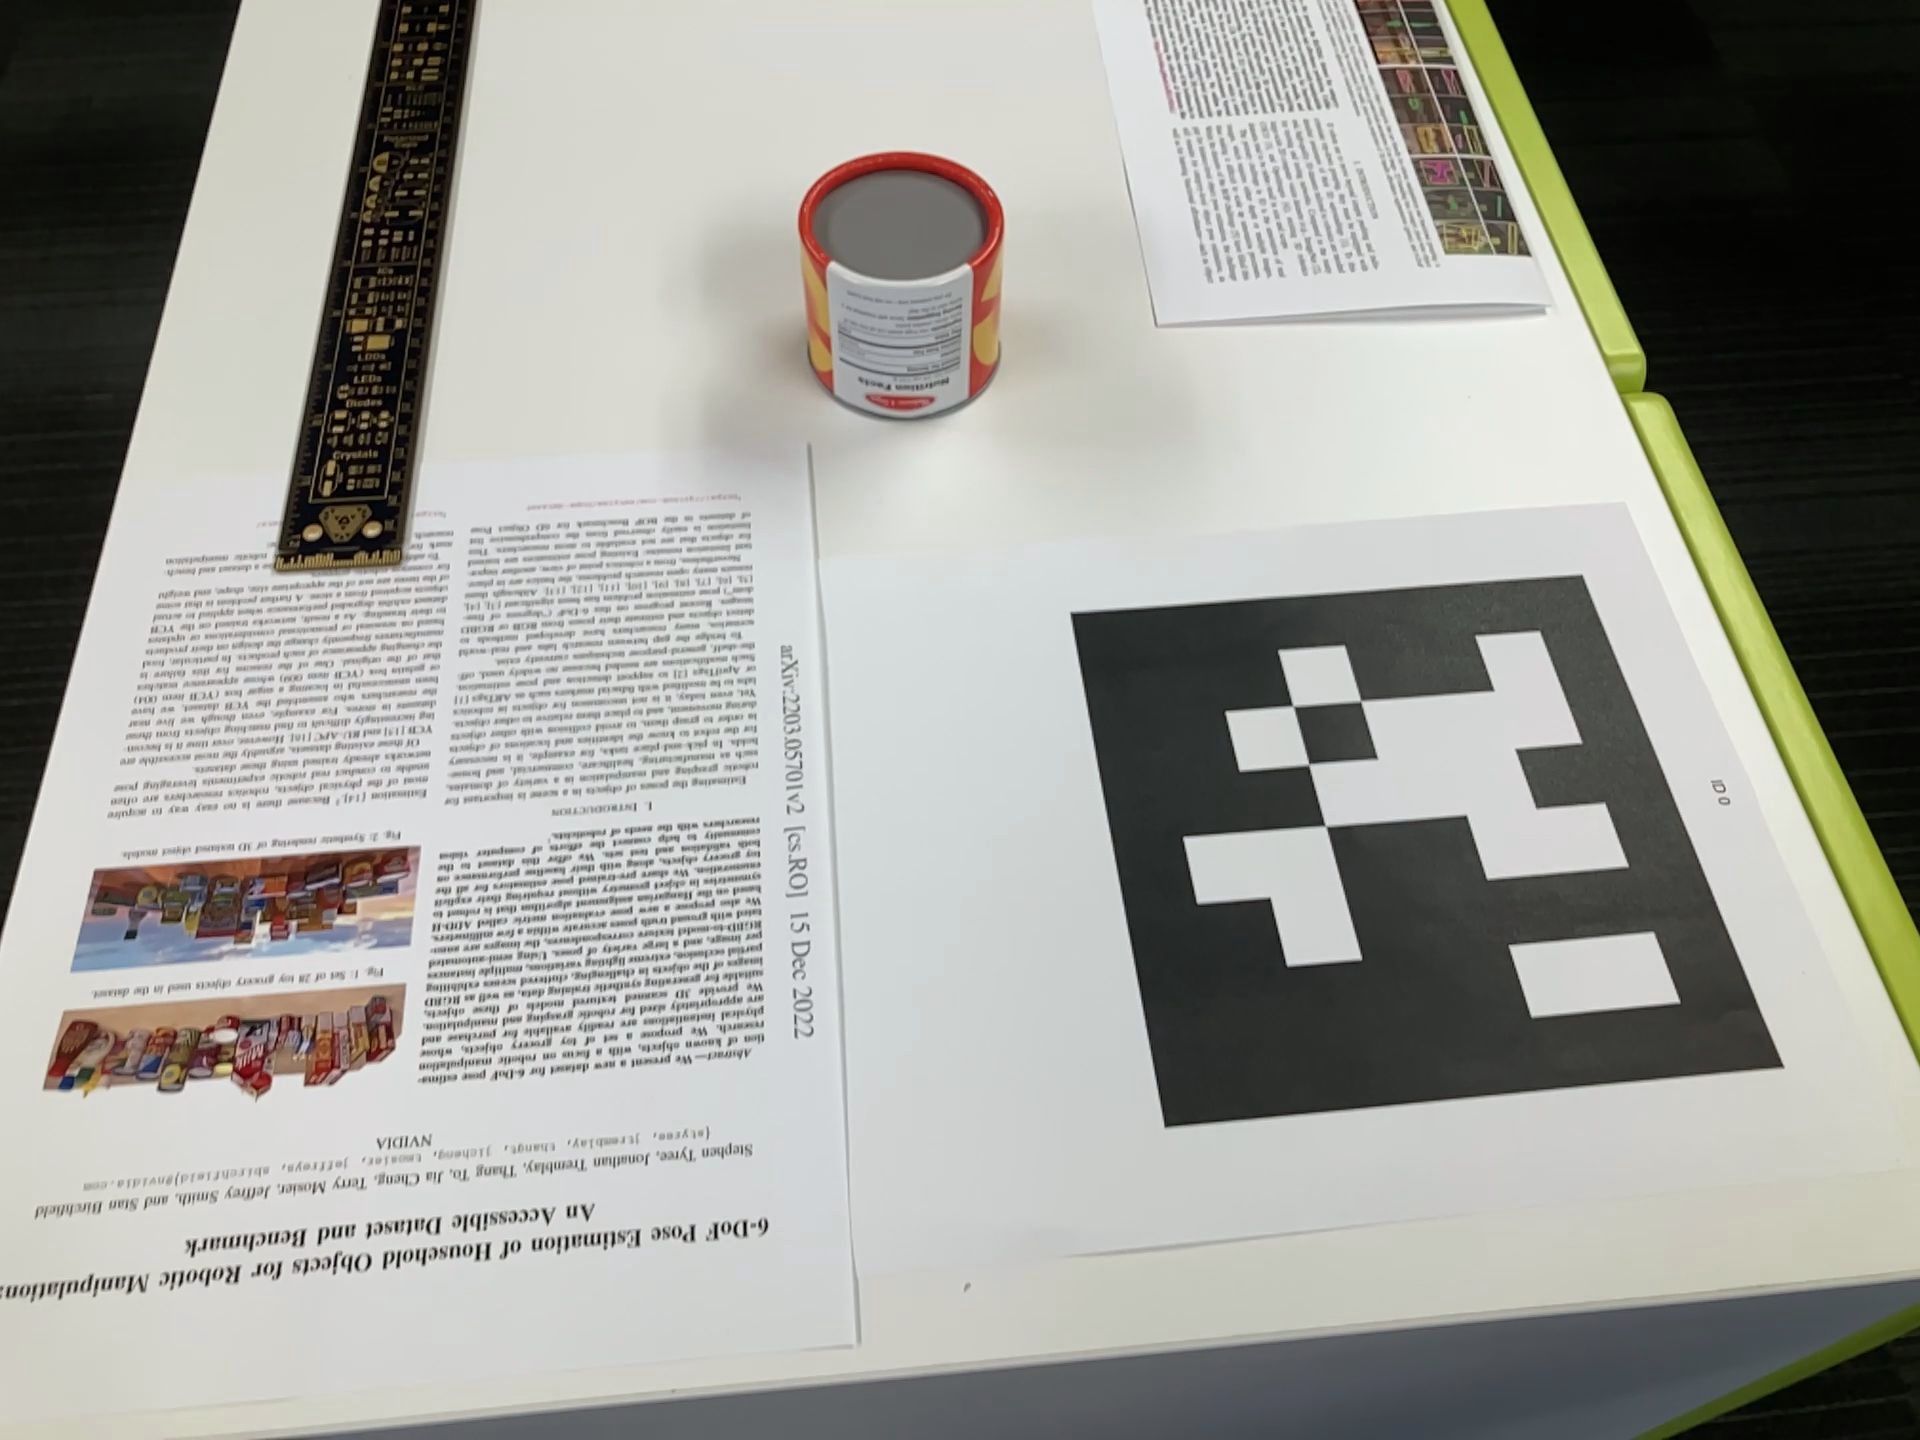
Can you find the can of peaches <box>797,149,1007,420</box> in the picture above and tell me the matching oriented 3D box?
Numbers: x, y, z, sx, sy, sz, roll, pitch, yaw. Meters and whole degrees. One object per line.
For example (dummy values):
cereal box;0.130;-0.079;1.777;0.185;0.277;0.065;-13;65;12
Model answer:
can of peaches;-0.019;-0.144;0.518;0.071;0.058;0.071;0;57;0
